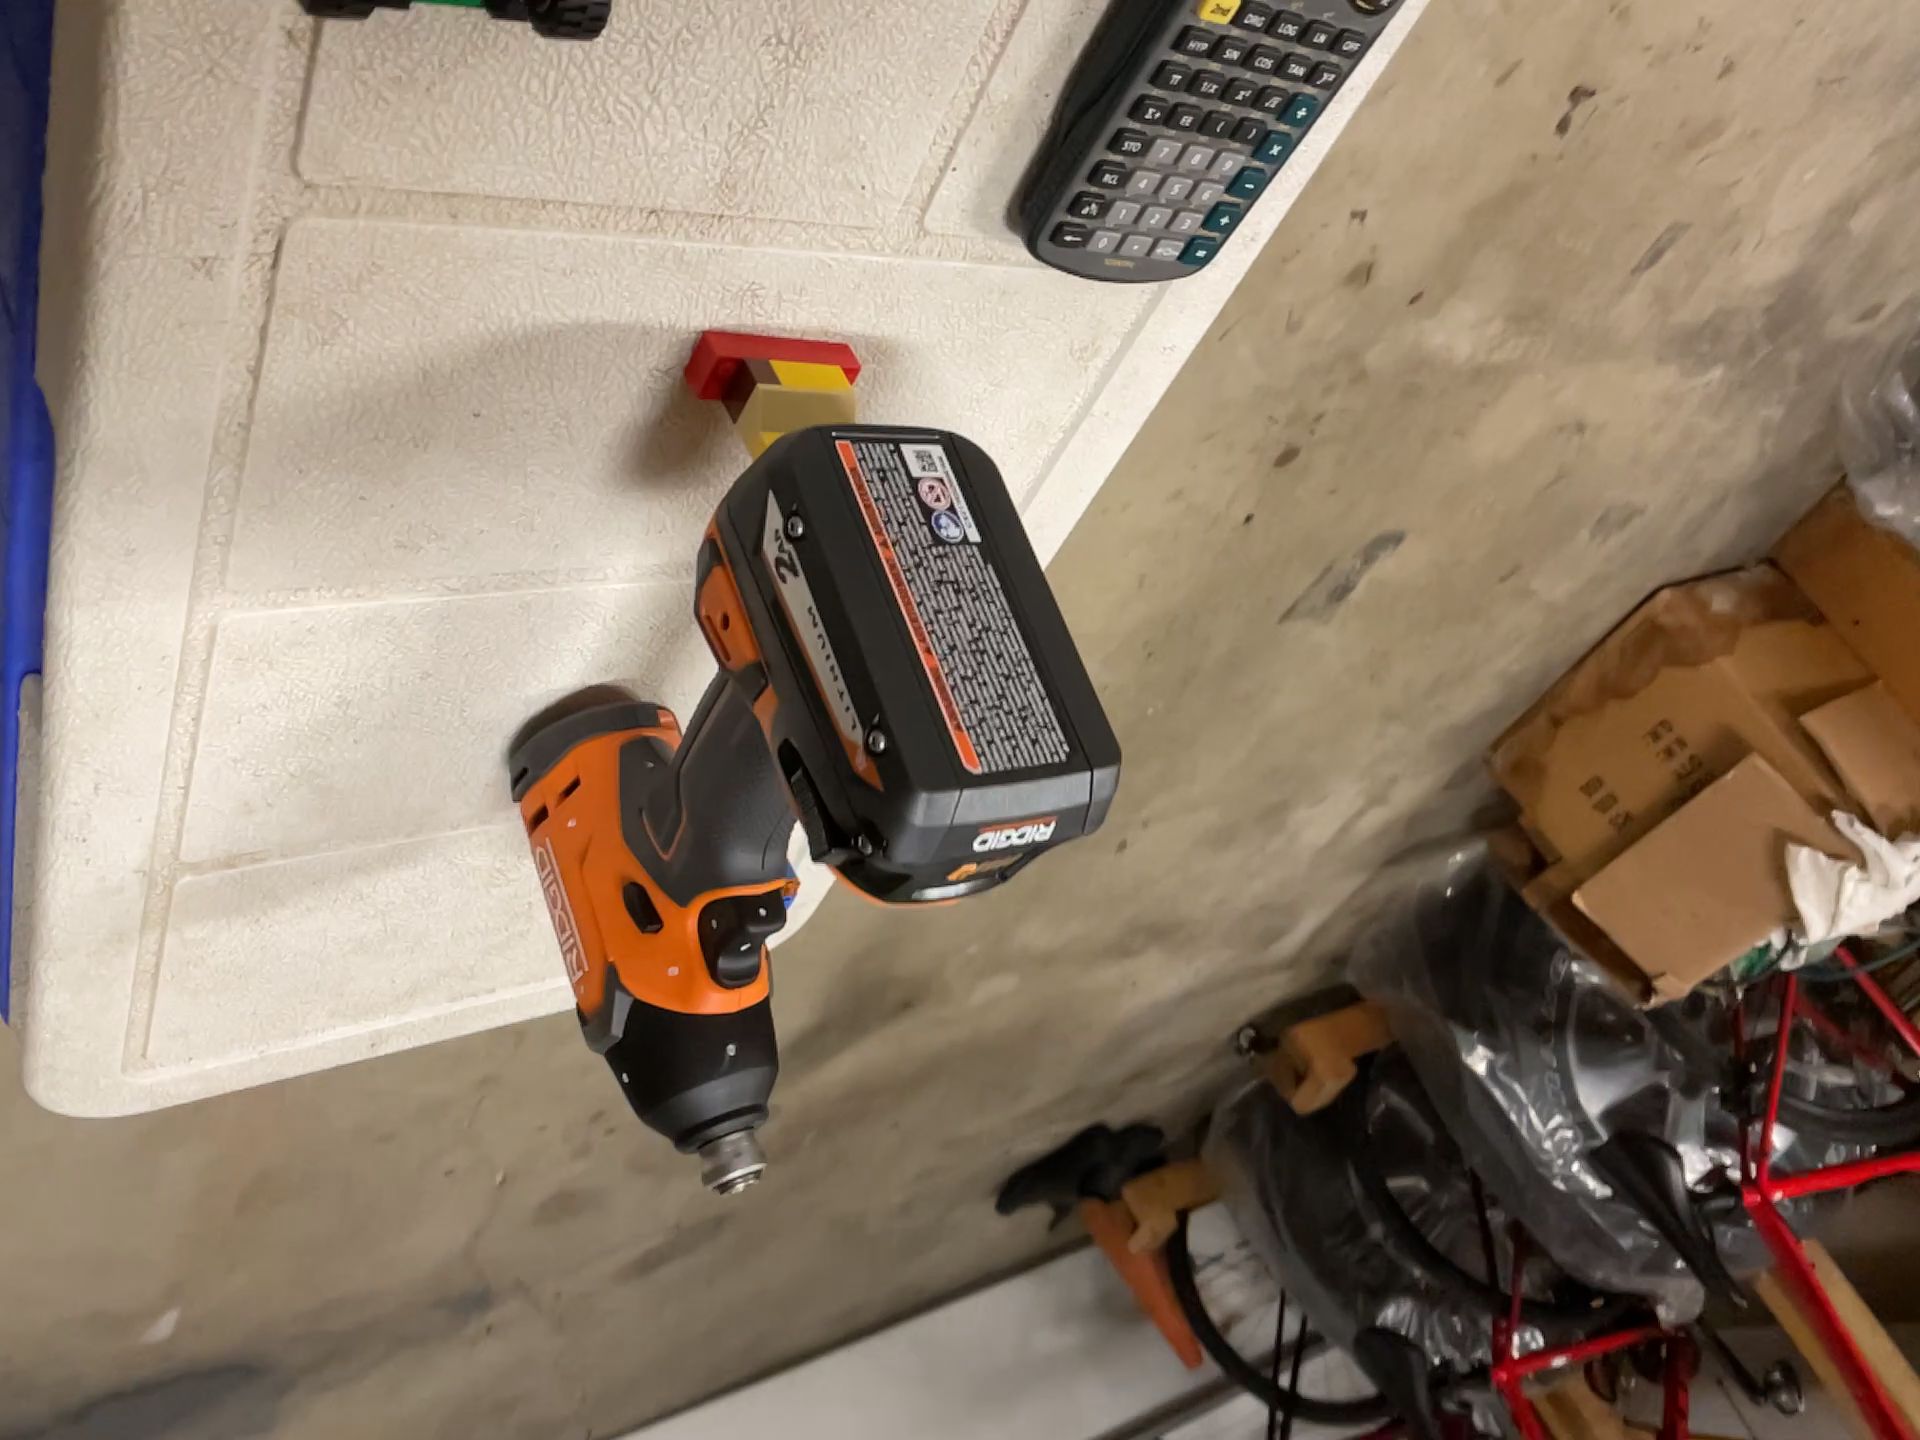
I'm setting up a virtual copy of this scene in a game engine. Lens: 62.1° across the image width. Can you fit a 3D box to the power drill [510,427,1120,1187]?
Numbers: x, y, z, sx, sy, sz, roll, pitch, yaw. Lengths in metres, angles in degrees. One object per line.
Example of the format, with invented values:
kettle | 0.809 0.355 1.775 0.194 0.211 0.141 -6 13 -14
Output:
power drill | -0.055 0.037 0.476 0.084 0.164 0.226 -7 157 -40
